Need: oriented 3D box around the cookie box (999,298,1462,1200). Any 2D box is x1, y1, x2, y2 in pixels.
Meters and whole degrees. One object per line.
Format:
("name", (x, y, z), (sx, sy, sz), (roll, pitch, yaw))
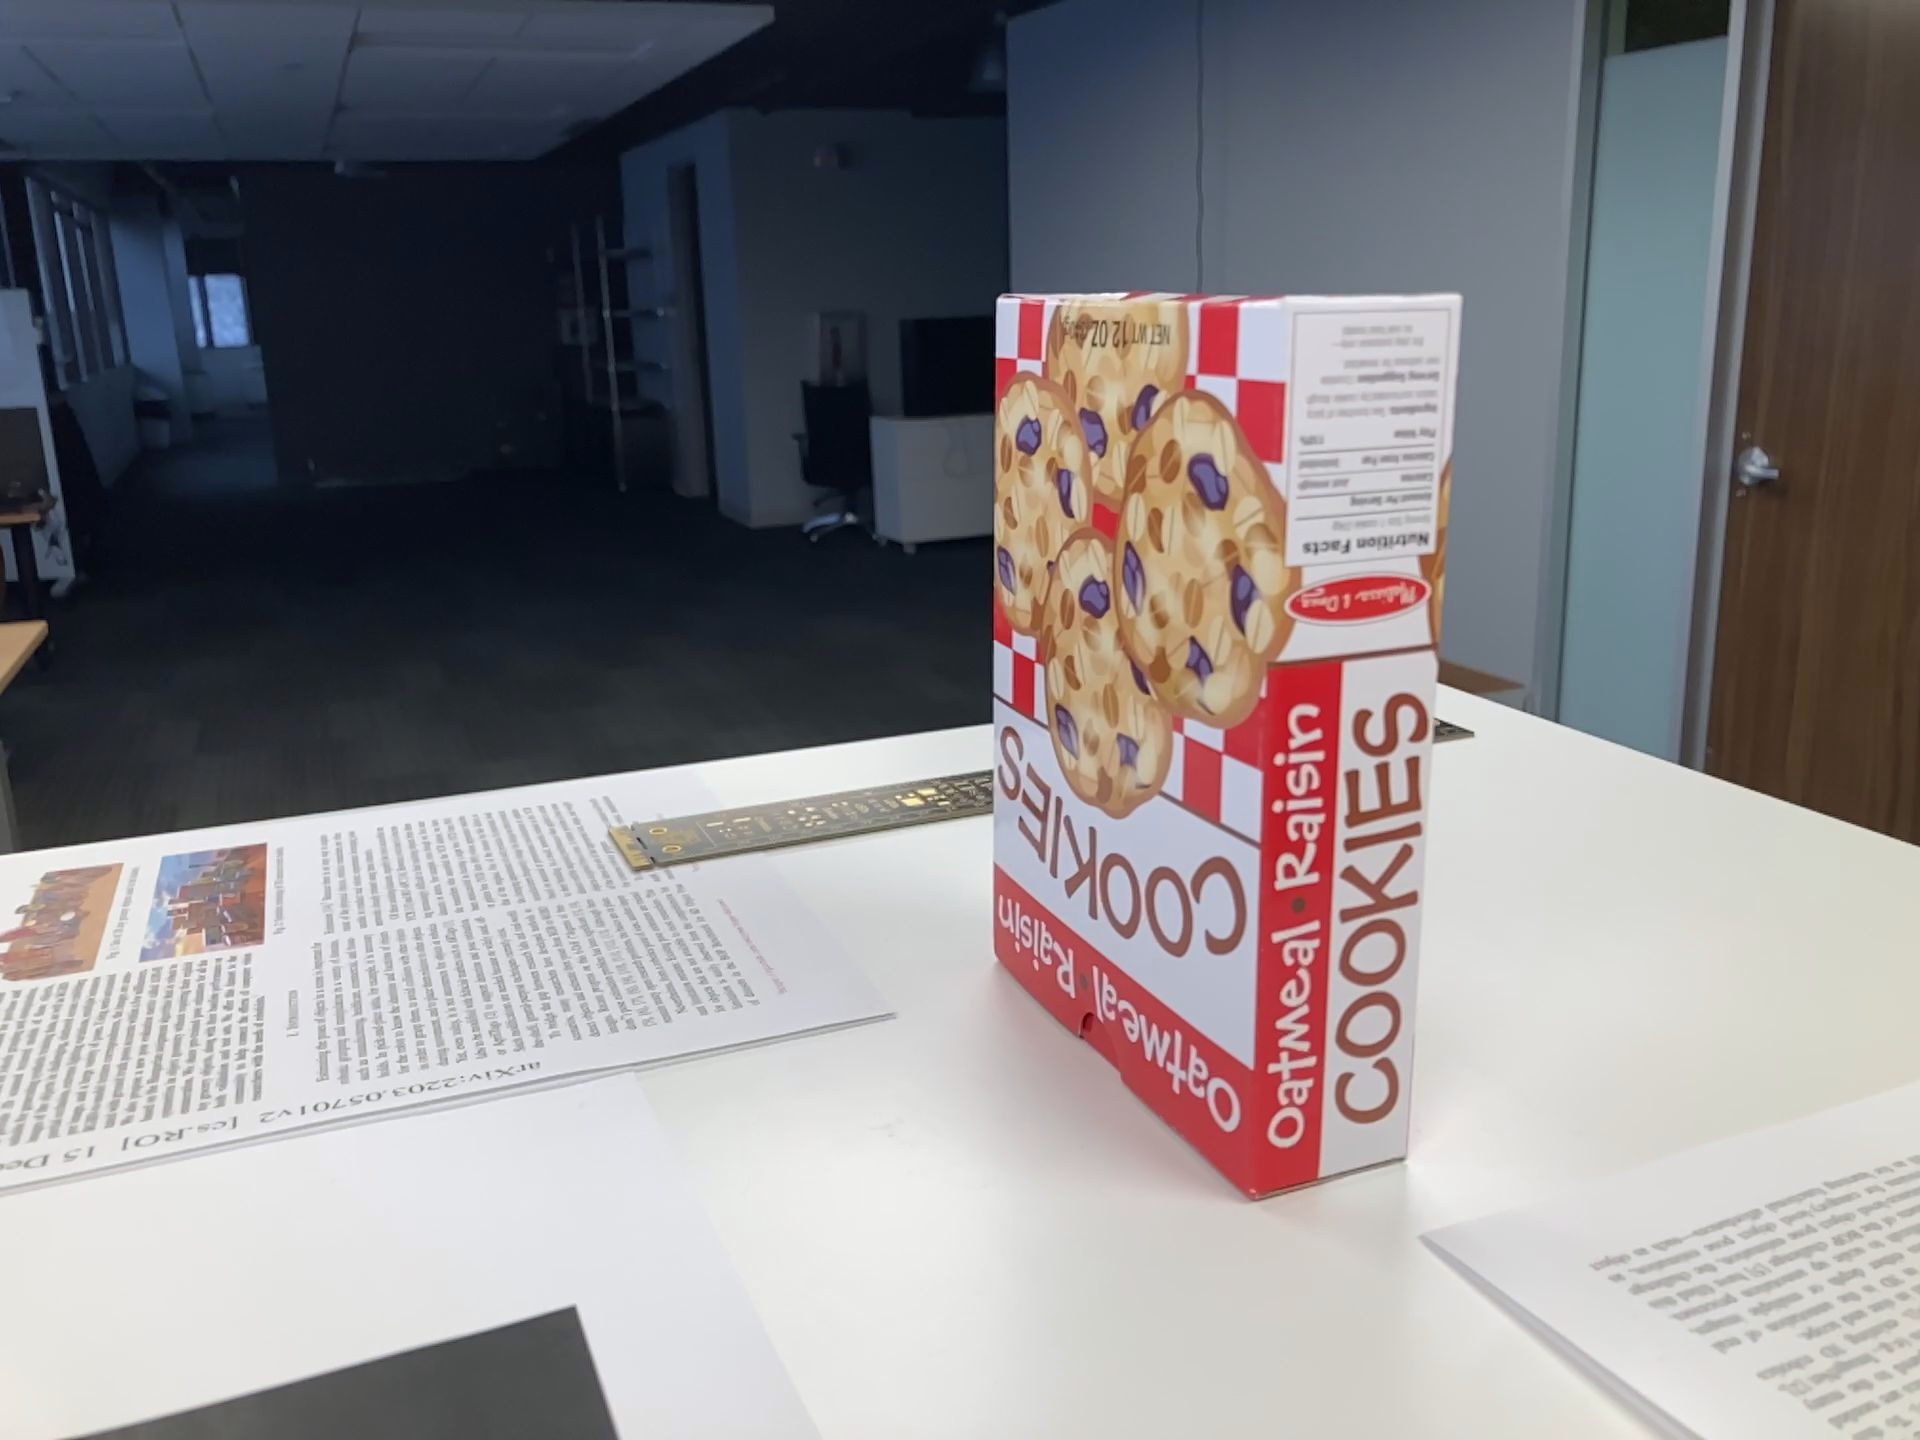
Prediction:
("cookie box", (0.048, -0.004, 0.342), (0.040, 0.167, 0.123), (-6, 16, -21))
